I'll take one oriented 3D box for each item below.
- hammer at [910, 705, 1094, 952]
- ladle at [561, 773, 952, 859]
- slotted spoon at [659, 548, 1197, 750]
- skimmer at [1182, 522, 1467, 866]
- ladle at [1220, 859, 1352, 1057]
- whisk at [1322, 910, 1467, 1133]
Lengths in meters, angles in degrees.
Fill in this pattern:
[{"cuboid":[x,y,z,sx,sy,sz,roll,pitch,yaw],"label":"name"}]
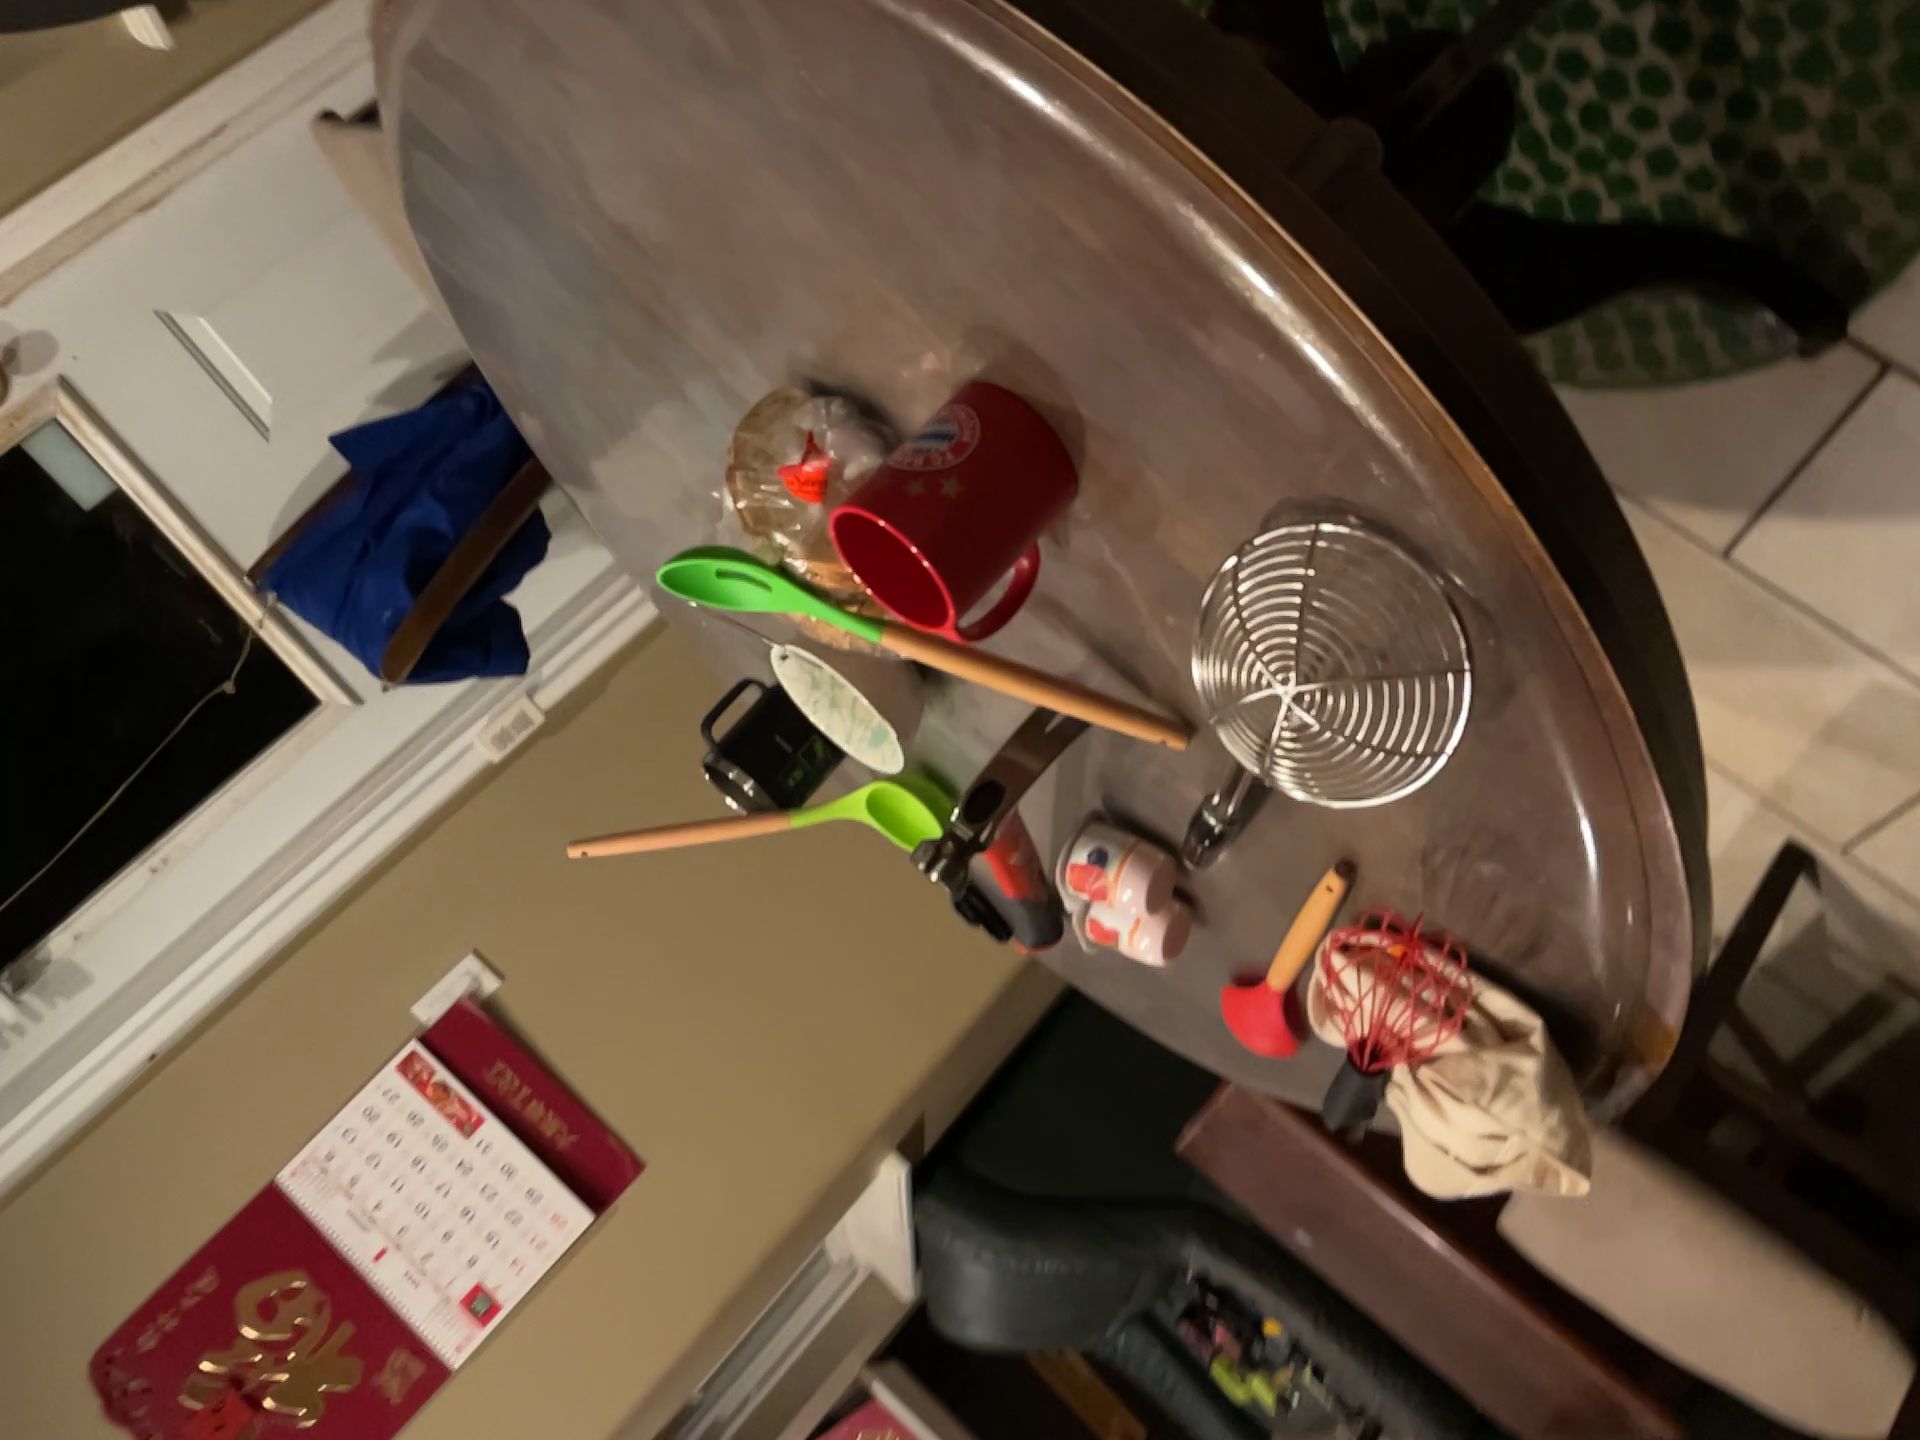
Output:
[{"cuboid":[0.053,0.095,1.114,0.038,0.143,0.386,38,171,18],"label":"hammer"},{"cuboid":[-0.165,0.092,1.270,0.062,0.320,0.078,-94,-5,-48],"label":"ladle"},{"cuboid":[-0.017,-0.040,0.893,0.314,0.031,0.070,19,162,1],"label":"slotted spoon"},{"cuboid":[0.161,0.014,0.809,0.127,0.090,0.363,47,172,13],"label":"skimmer"},{"cuboid":[0.210,0.157,1.011,0.069,0.031,0.315,36,157,18],"label":"ladle"},{"cuboid":[0.227,0.179,0.874,0.073,0.073,0.295,33,158,23],"label":"whisk"}]
